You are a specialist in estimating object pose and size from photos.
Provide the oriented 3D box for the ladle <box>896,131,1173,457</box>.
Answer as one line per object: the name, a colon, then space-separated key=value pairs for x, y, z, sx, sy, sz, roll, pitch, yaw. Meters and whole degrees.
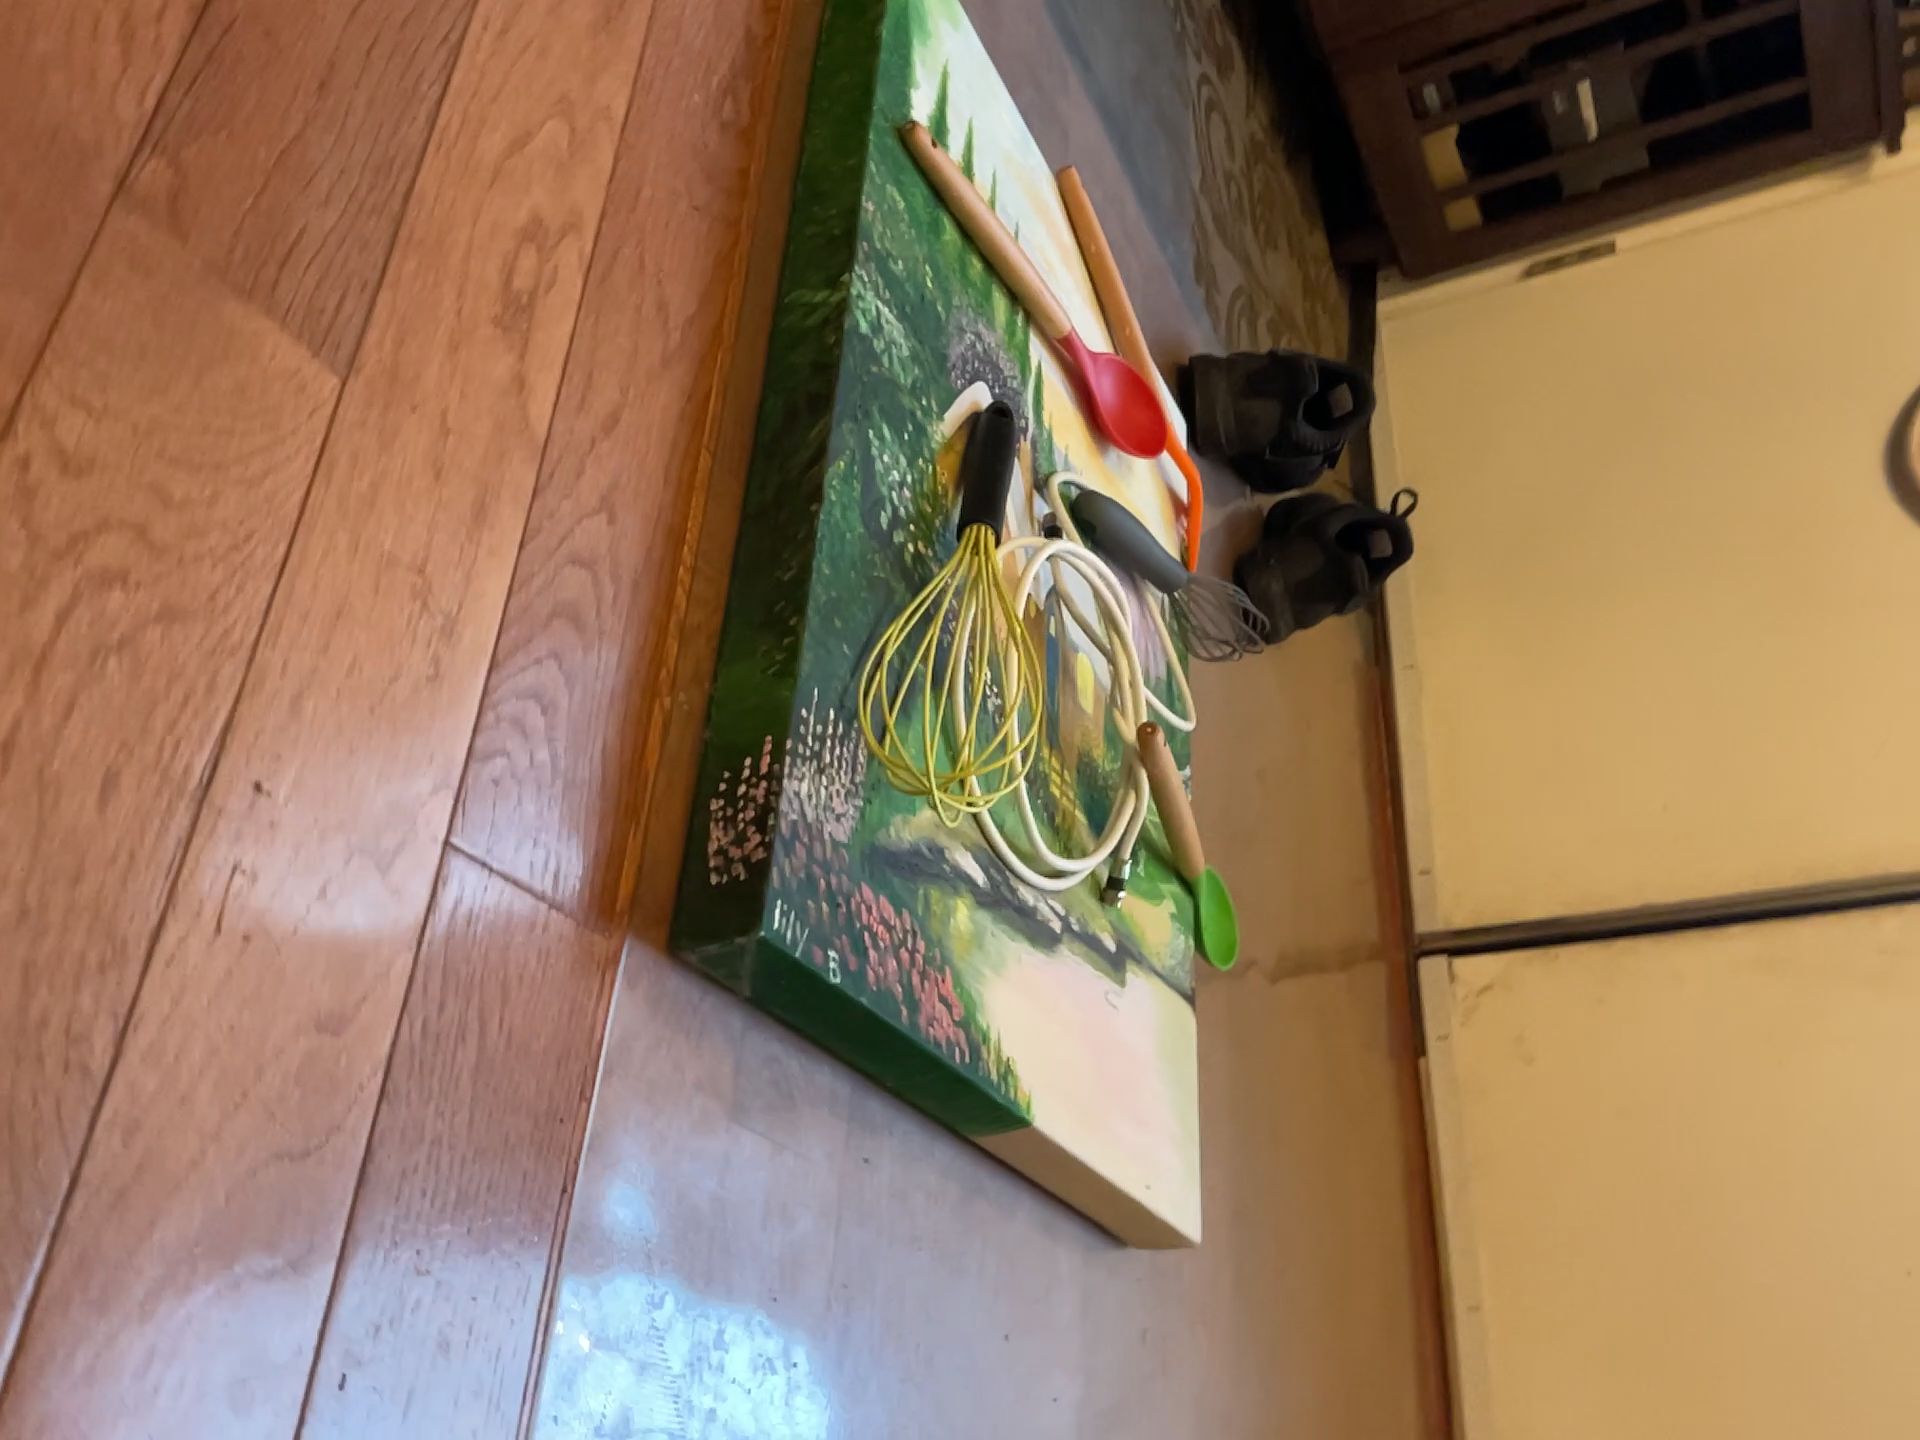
ladle: x=0.050 y=-0.243 z=0.937 sx=0.315 sy=0.031 sz=0.069 roll=34 pitch=48 yaw=-53

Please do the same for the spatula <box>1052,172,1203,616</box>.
spatula: x=0.123 y=-0.222 z=1.104 sx=0.081 sy=0.041 sz=0.322 roll=-81 pitch=148 yaw=-58

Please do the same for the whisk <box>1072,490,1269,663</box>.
whisk: x=0.138 y=-0.092 z=1.036 sx=0.238 sy=0.055 sz=0.055 roll=31 pitch=42 yaw=-50

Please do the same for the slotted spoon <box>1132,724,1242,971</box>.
slotted spoon: x=0.138 y=0.079 z=0.967 sx=0.313 sy=0.031 sz=0.070 roll=60 pitch=29 yaw=-58

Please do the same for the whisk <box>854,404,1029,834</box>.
whisk: x=0.003 y=-0.065 z=0.736 sx=0.312 sy=0.067 sz=0.079 roll=-81 pitch=154 yaw=-48
